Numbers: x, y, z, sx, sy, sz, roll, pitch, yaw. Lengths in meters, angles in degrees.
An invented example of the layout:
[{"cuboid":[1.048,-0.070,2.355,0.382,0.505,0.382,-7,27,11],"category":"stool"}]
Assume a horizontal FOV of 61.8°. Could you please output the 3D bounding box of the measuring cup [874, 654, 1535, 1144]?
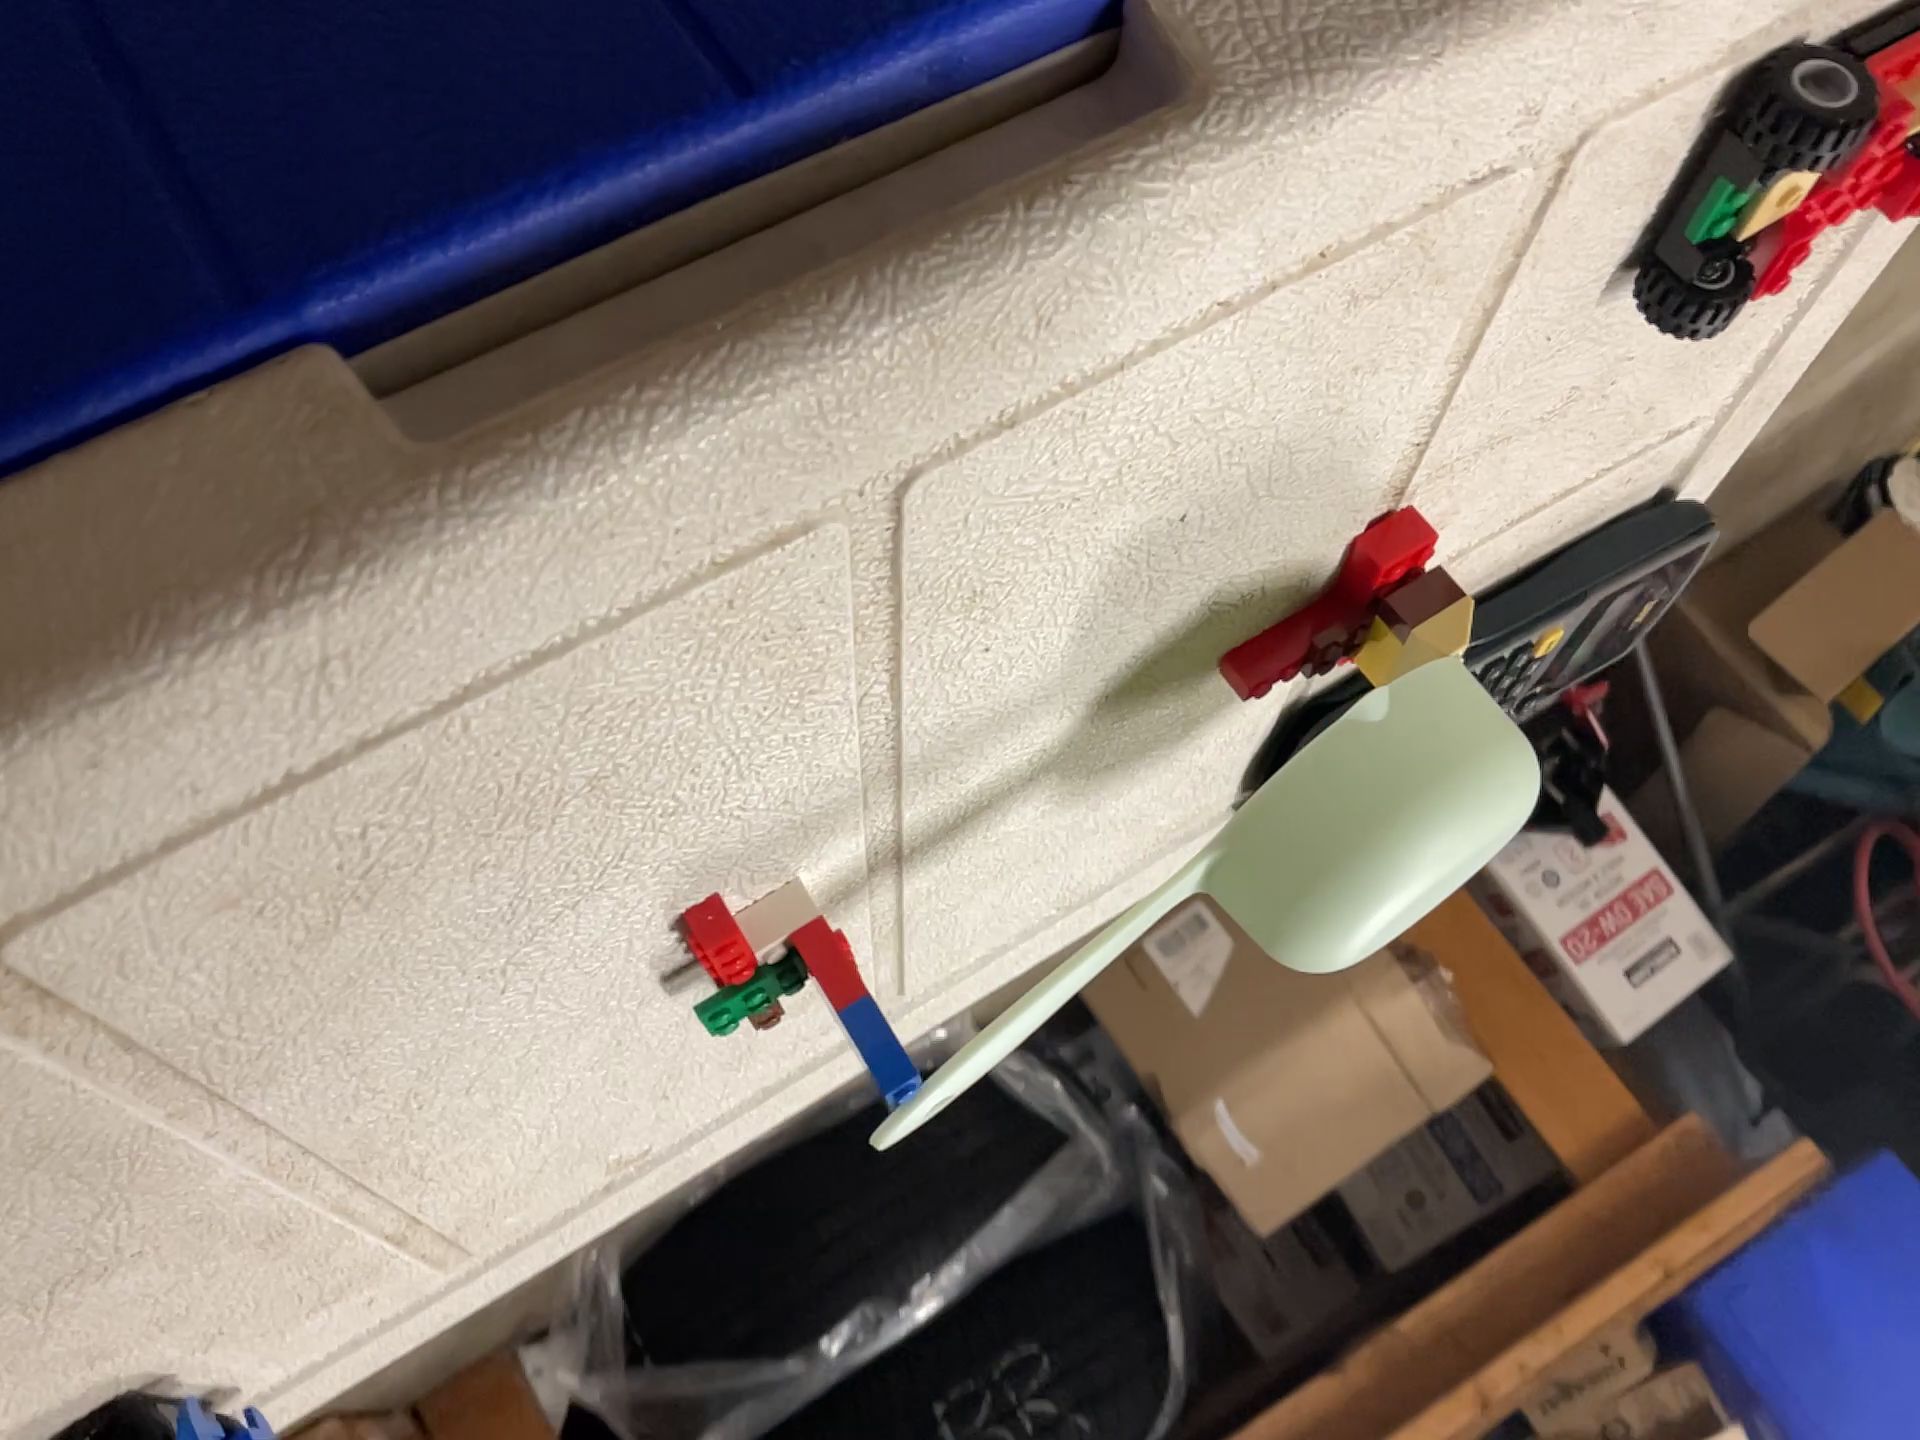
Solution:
[{"cuboid":[0.058,0.050,0.347,0.167,0.038,0.083,-36,160,-16],"category":"measuring cup"}]
